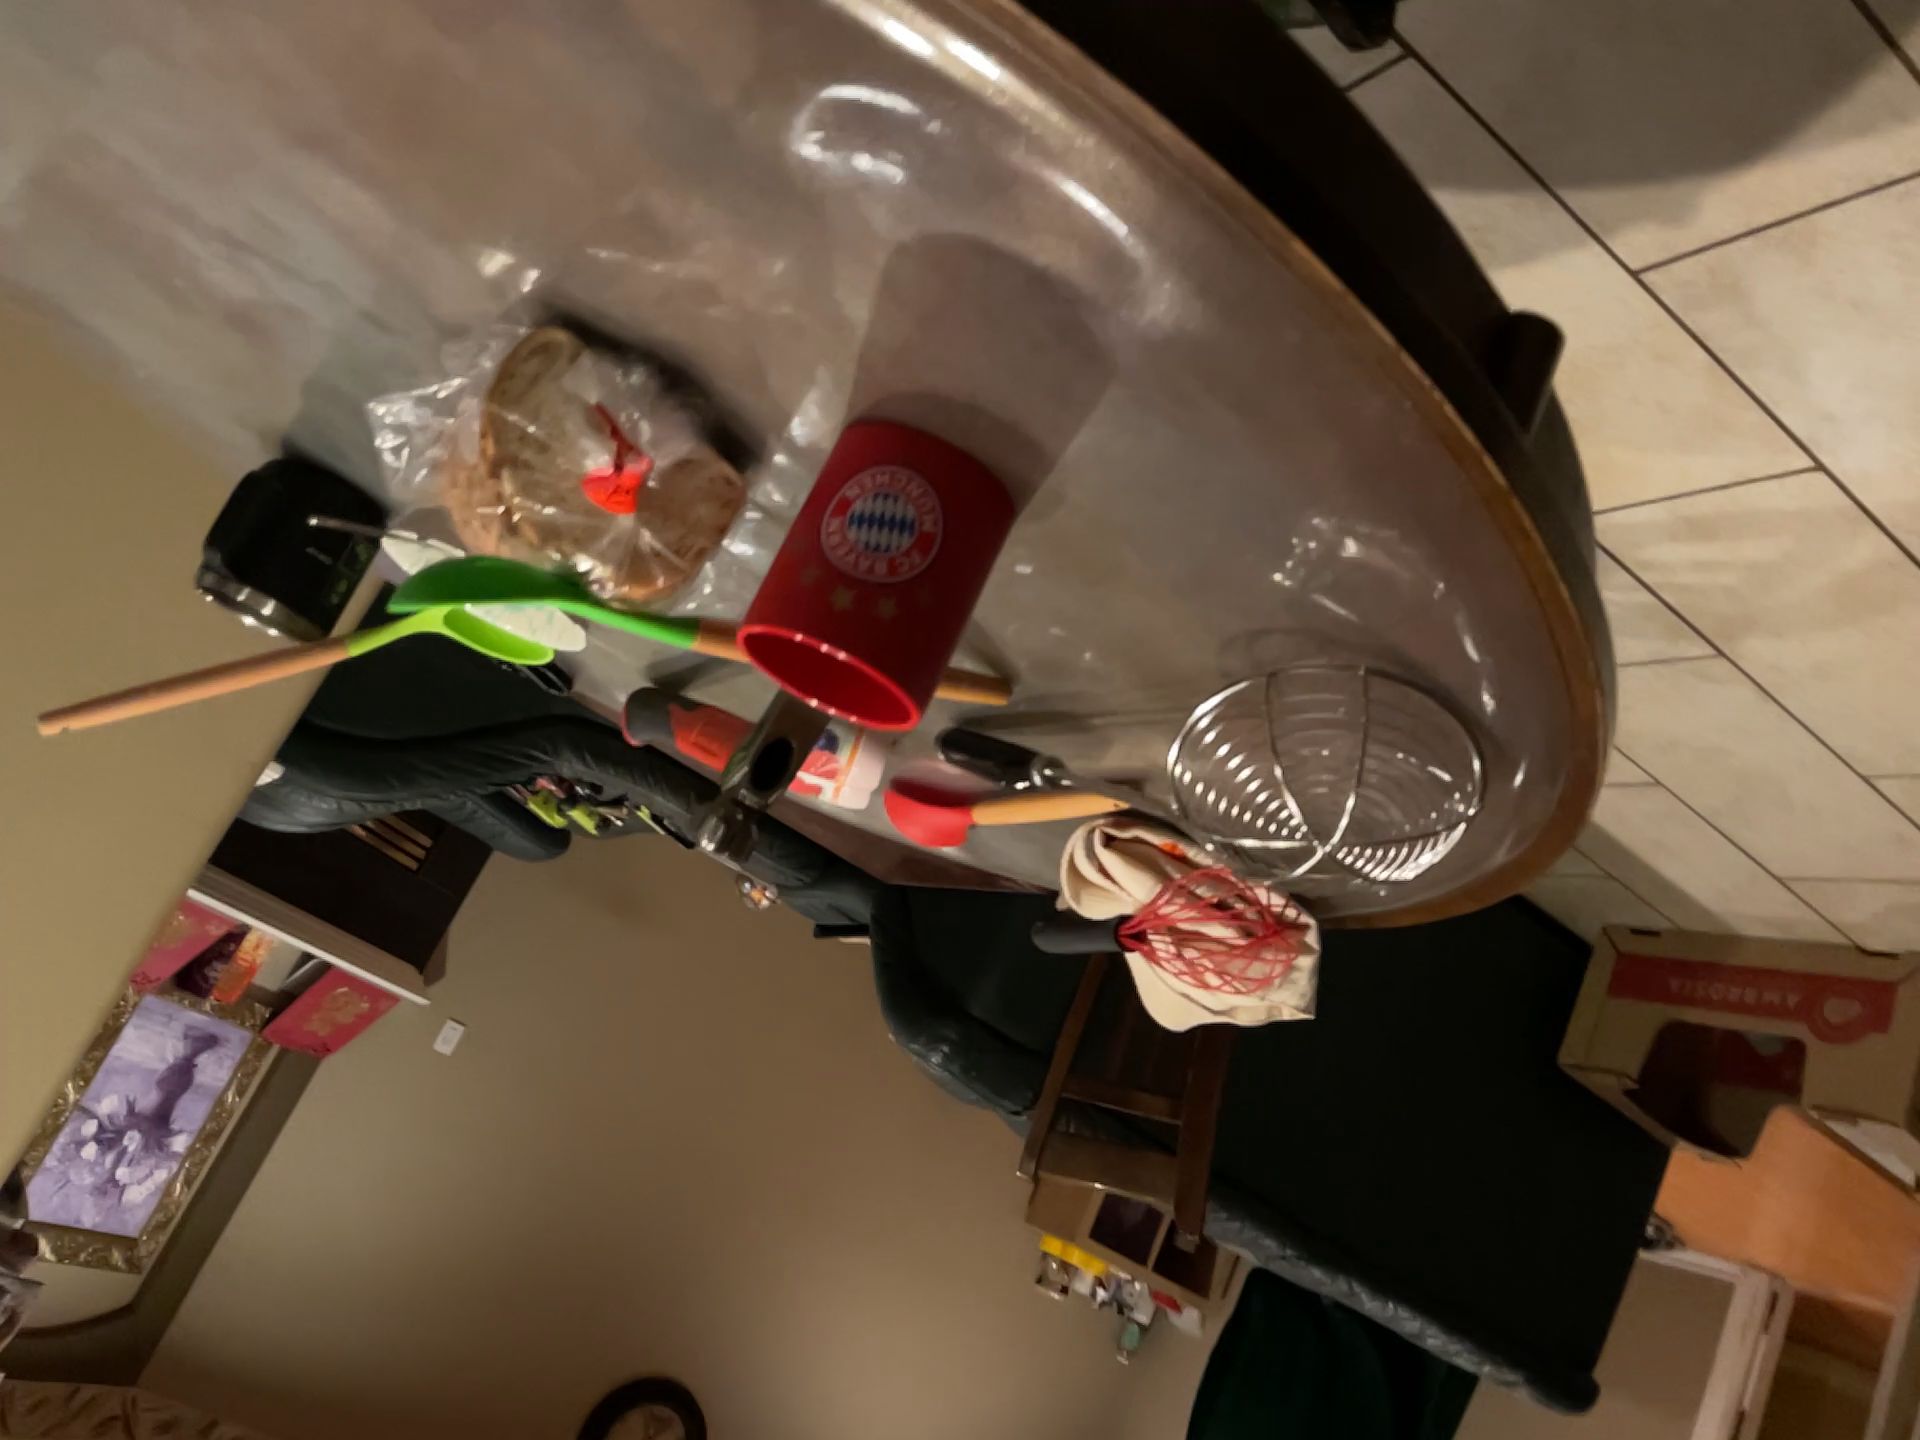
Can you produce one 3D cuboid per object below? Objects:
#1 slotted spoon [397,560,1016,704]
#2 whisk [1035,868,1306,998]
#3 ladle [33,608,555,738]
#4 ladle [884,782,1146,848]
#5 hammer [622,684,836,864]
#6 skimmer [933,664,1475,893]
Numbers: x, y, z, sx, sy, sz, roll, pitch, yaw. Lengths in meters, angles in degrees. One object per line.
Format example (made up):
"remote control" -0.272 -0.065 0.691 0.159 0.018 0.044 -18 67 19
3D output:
"slotted spoon" -0.102 -0.037 0.746 0.313 0.031 0.070 10 179 -34
"whisk" 0.111 0.126 0.934 0.073 0.073 0.296 29 164 -15
"ladle" -0.422 -0.030 1.029 0.062 0.320 0.078 66 158 17
"ladle" 0.029 0.059 1.025 0.069 0.031 0.315 32 160 -20
"hammer" -0.156 -0.008 1.009 0.038 0.143 0.387 33 173 -20
"skimmer" 0.091 0.011 0.785 0.127 0.090 0.364 43 168 -25
